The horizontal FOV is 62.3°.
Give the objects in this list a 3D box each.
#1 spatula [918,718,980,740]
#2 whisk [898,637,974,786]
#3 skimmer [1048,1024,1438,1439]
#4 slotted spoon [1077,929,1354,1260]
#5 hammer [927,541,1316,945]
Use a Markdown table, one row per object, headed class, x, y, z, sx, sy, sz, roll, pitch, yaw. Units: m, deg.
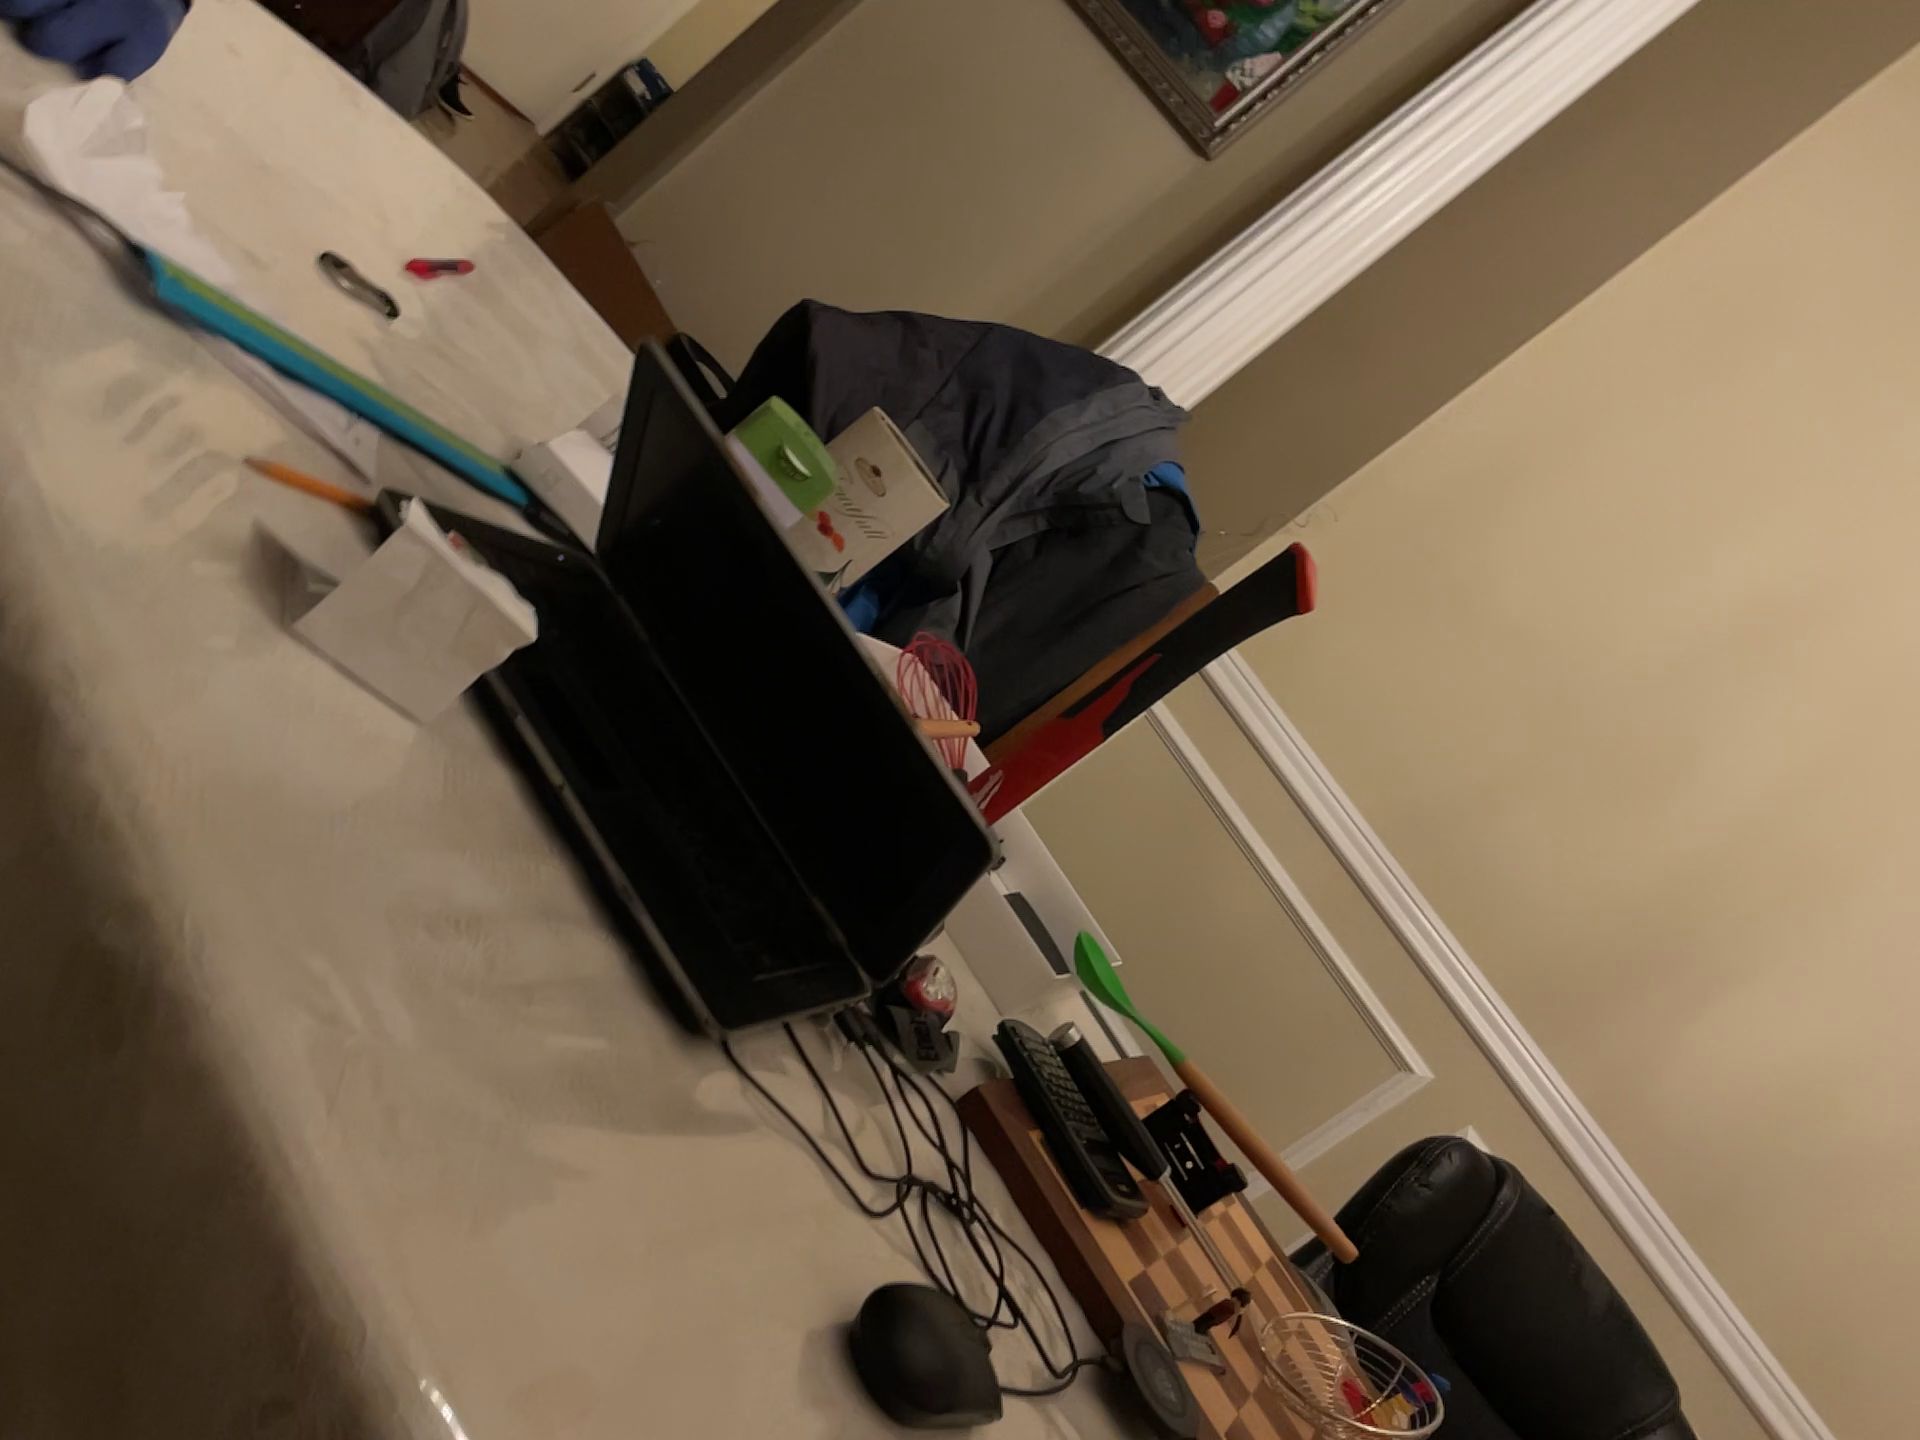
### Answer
| class | x | y | z | sx | sy | sz | roll | pitch | yaw |
| --- | --- | --- | --- | --- | --- | --- | --- | --- | --- |
| spatula | -0.080 | 0.002 | 1.200 | 0.317 | 0.044 | 0.082 | -1 | 49 | -51 |
| whisk | -0.009 | 0.035 | 1.432 | 0.073 | 0.073 | 0.296 | 22 | 41 | -35 |
| skimmer | 0.195 | 0.347 | 1.100 | 0.363 | 0.090 | 0.127 | 56 | 12 | -5 |
| slotted spoon | 0.185 | 0.281 | 1.210 | 0.314 | 0.031 | 0.070 | 48 | 5 | 30 |
| hammer | 0.075 | -0.006 | 1.101 | 0.143 | 0.386 | 0.038 | 57 | 11 | 21 |
